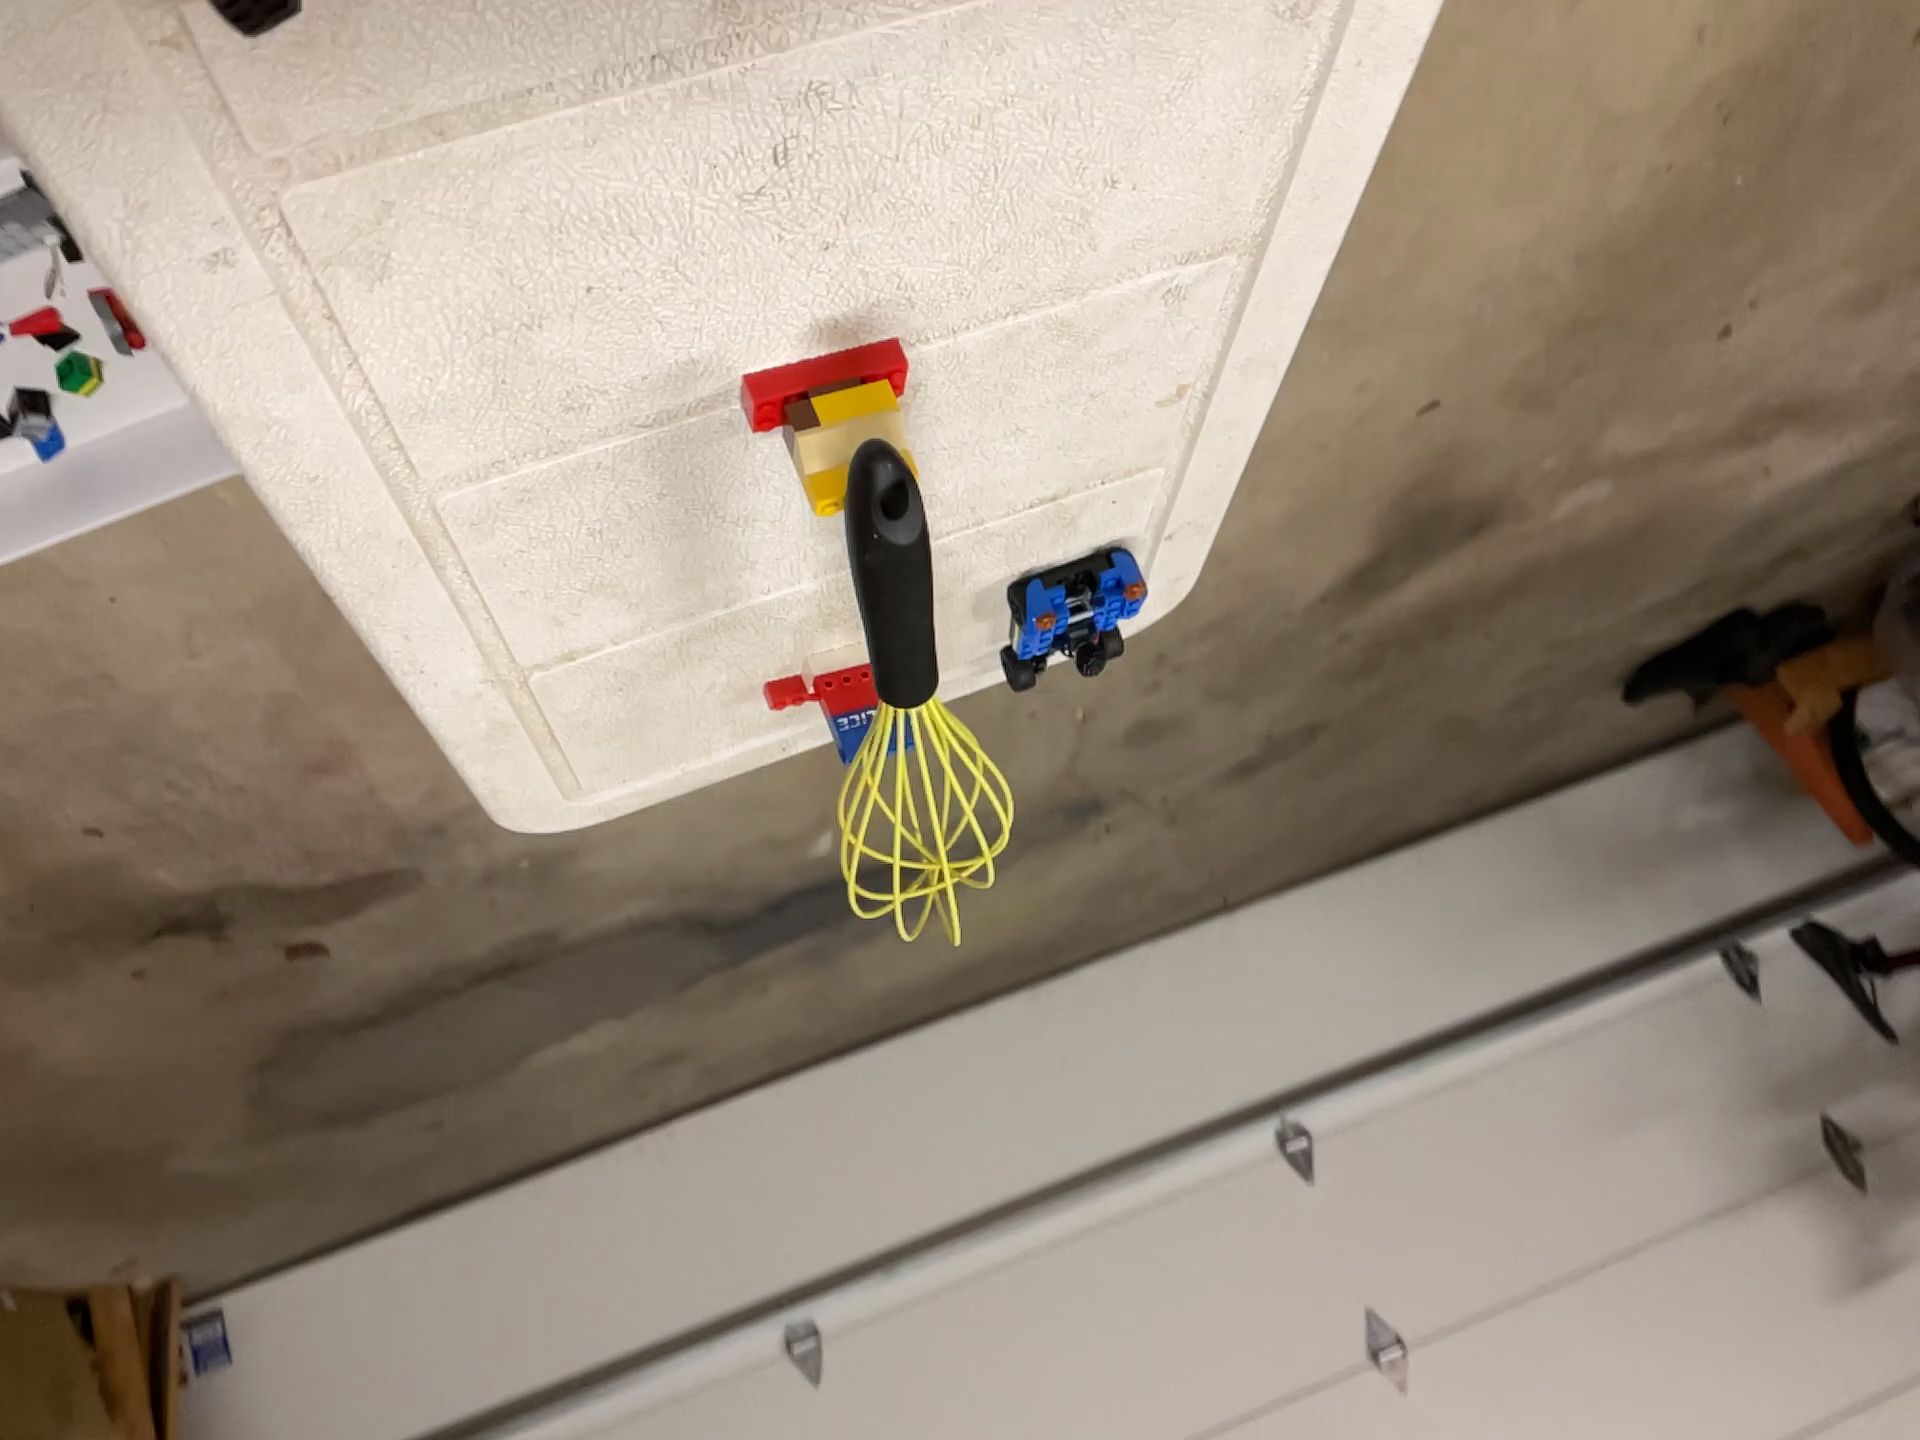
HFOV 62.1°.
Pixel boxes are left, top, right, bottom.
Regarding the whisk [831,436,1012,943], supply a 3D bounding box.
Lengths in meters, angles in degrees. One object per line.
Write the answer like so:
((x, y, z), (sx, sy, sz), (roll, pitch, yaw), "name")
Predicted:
((-0.019, 0.000, 0.560), (0.311, 0.067, 0.080), (86, 26, -62), "whisk")
